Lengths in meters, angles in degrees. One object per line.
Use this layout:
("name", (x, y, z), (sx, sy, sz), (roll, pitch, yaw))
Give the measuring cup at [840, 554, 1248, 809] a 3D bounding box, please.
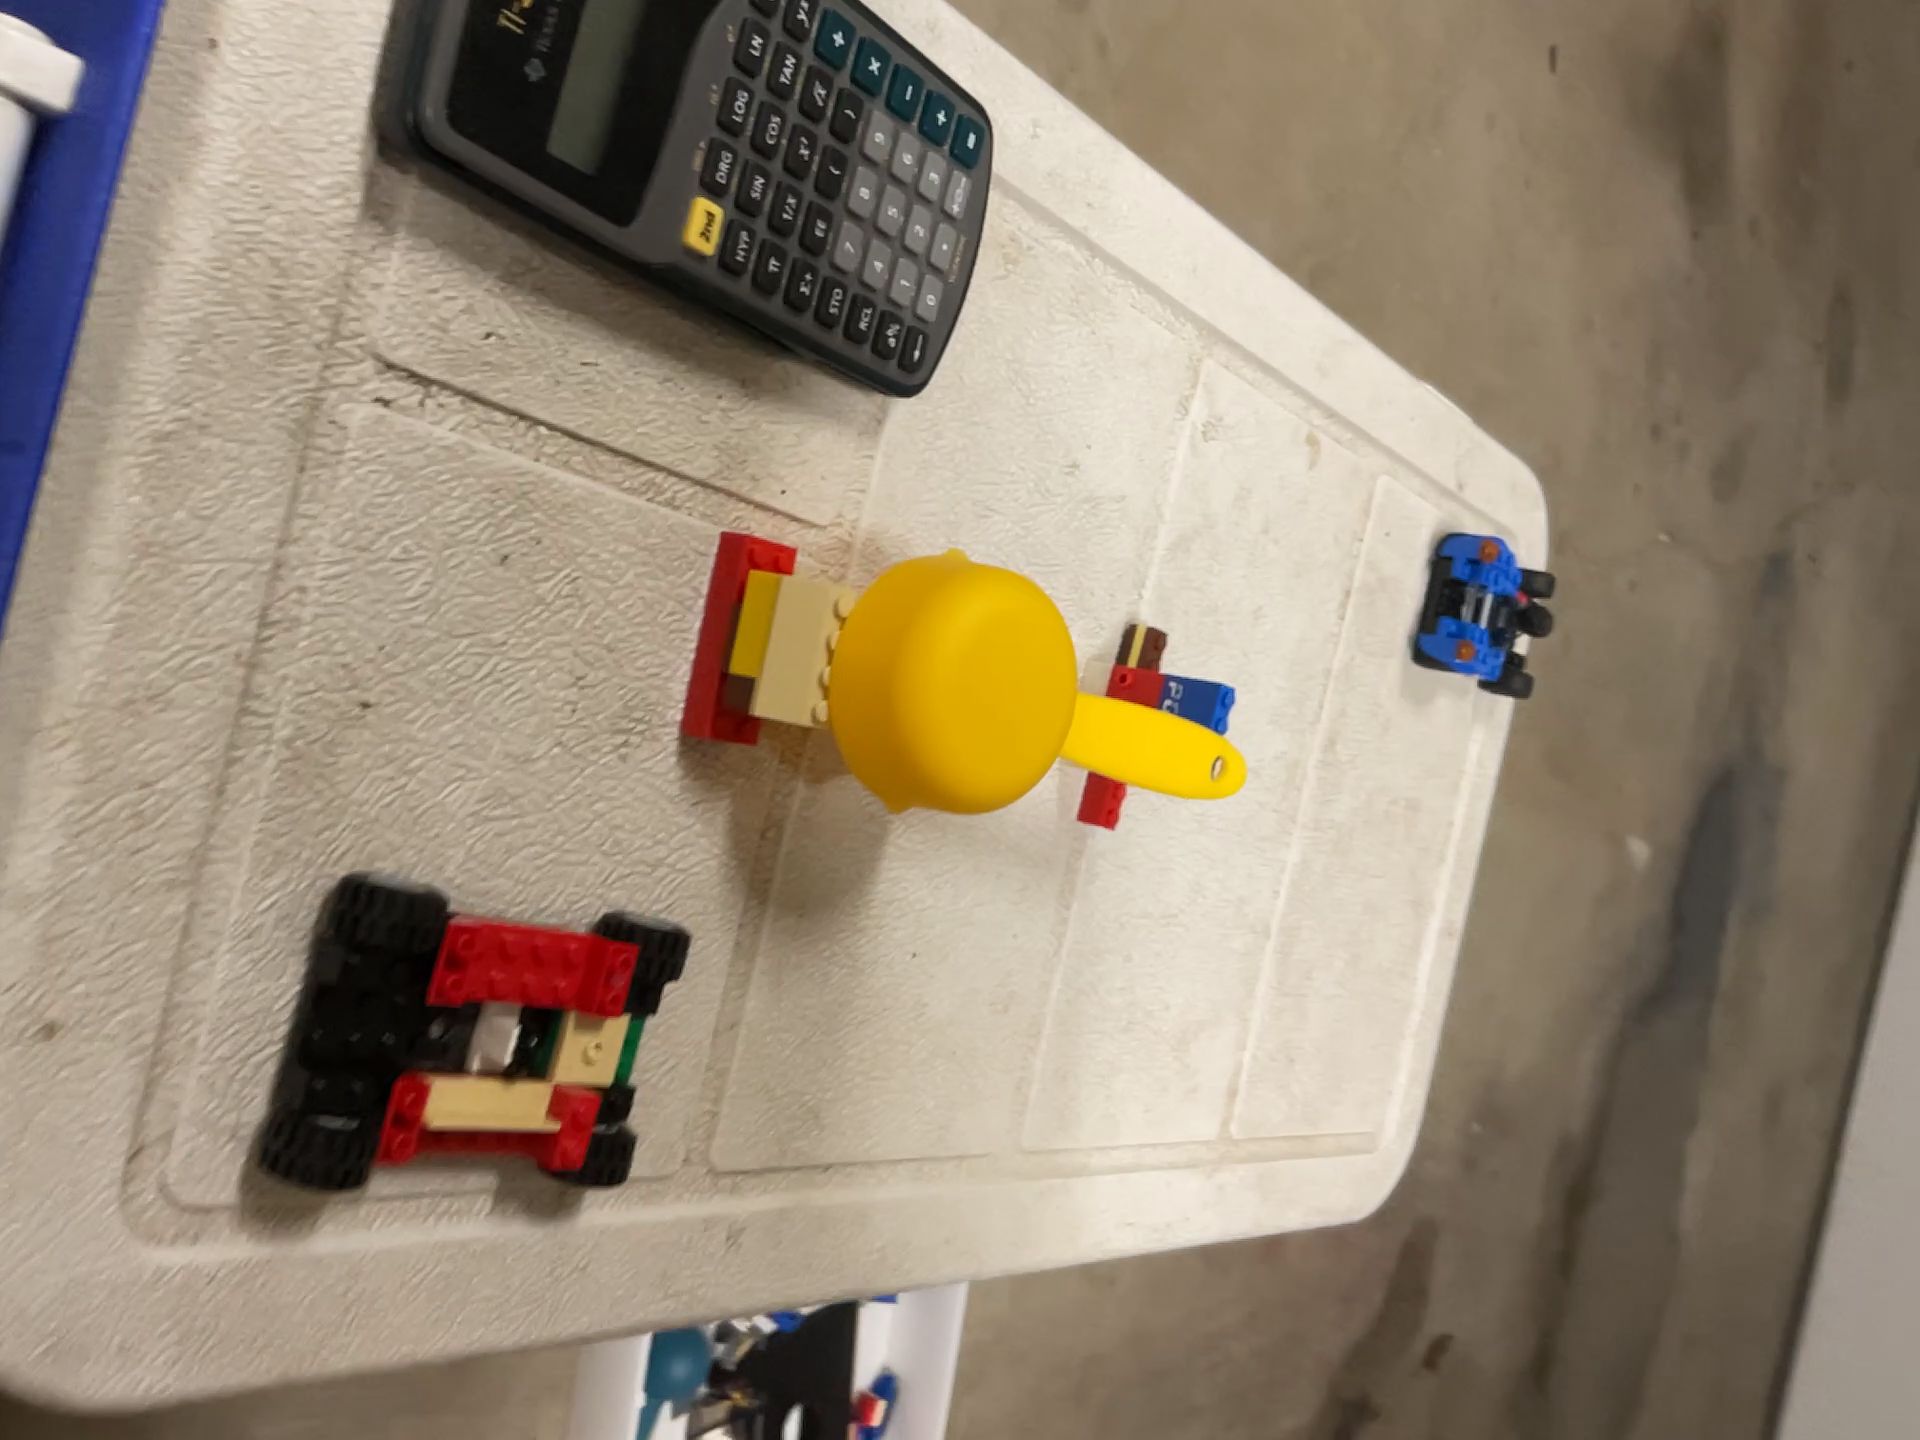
("measuring cup", (0.036, 0.003, 0.405), (0.156, 0.029, 0.062), (16, 87, -44))
